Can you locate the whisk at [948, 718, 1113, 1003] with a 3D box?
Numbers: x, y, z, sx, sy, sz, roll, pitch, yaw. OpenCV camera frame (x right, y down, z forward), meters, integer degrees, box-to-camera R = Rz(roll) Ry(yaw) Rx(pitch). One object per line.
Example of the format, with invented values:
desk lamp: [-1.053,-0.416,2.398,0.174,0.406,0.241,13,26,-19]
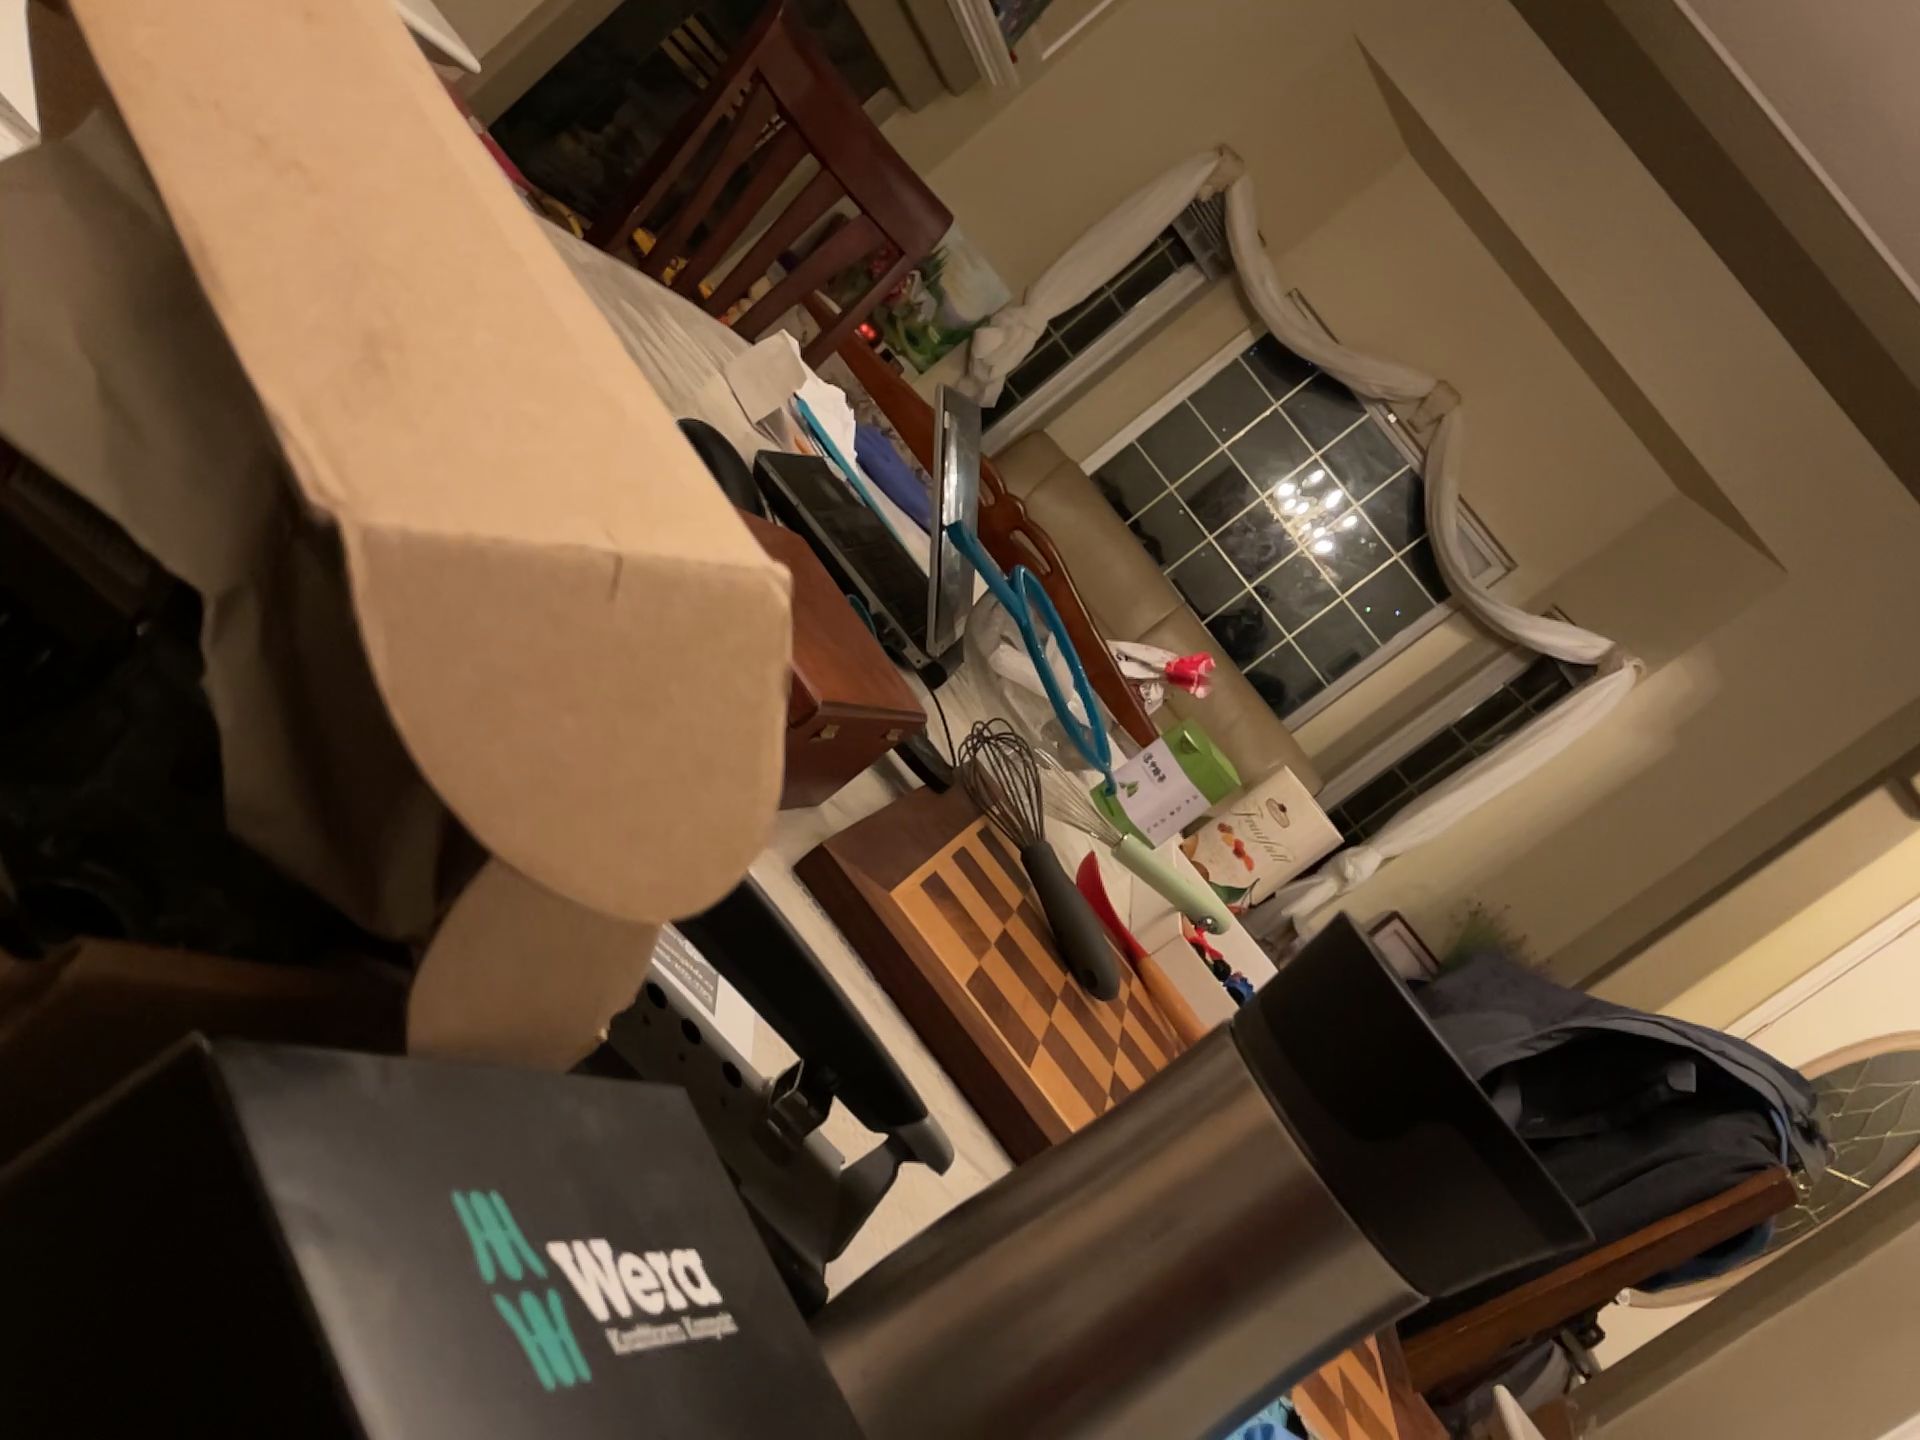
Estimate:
whisk: [0.047,0.087,1.047,0.055,0.055,0.239,24,31,-42]

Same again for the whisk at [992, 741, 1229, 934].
whisk: [0.125,0.097,1.328,0.246,0.058,0.059,38,40,1]

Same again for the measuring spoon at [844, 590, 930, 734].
measuring spoon: [-0.059,-0.038,1.173,0.128,0.021,0.042,61,13,-25]

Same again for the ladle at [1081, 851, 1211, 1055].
ladle: [0.148,0.195,1.152,0.316,0.031,0.069,-122,-168,-56]

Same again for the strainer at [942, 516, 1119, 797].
strainer: [0.032,-0.063,1.426,0.340,0.095,0.211,48,22,-51]
